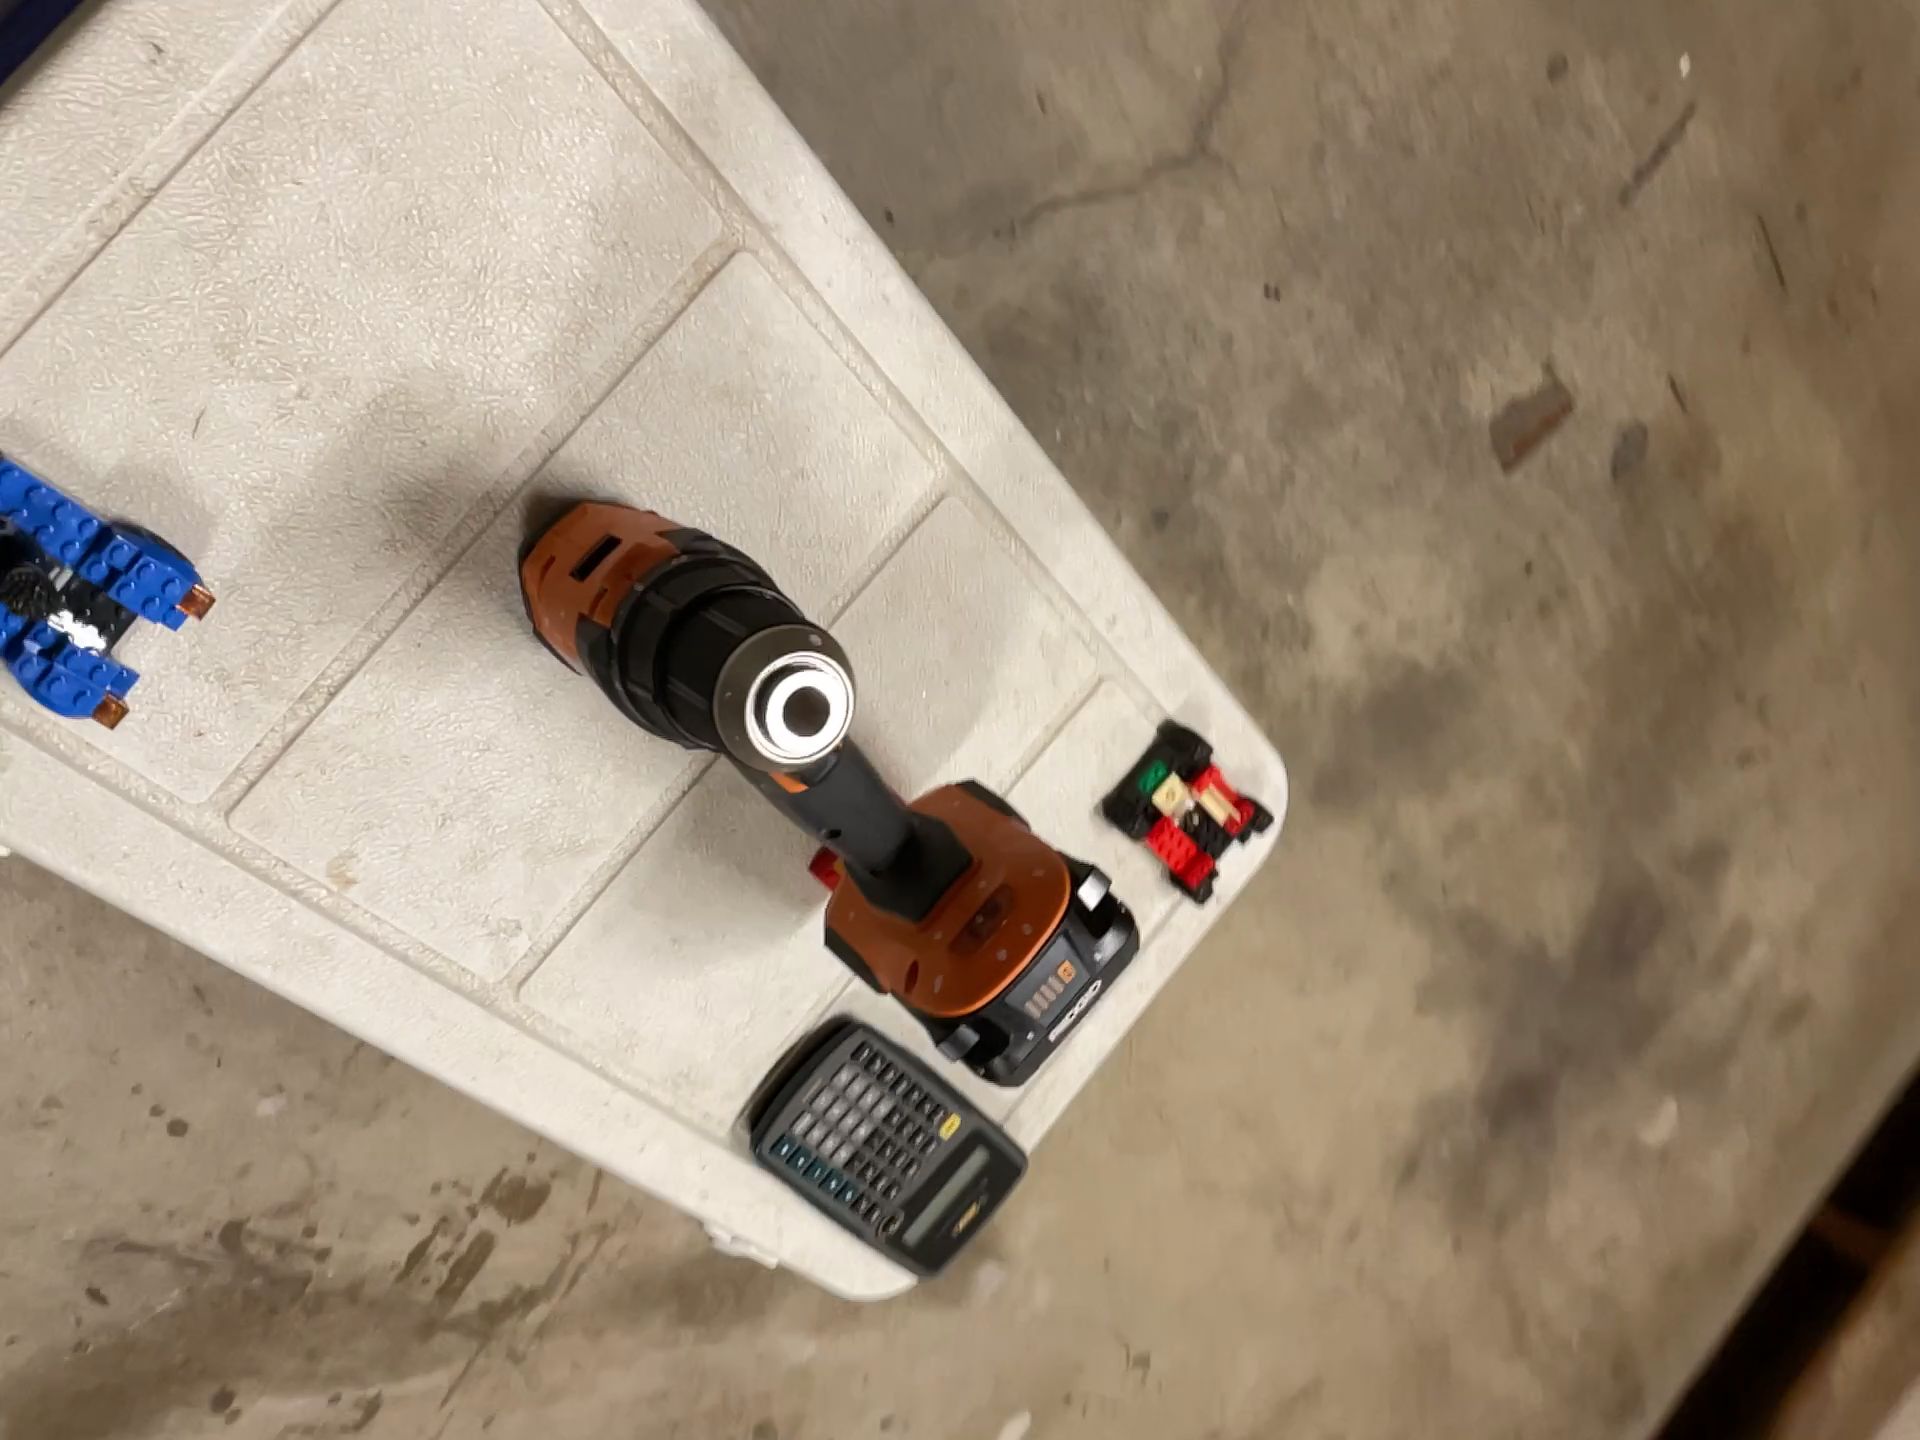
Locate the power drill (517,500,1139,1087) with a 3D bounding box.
[{"bbox_3d":[-0.035,0.025,0.518,0.084,0.185,0.226,-48,120,-9],"label":"power drill"}]
